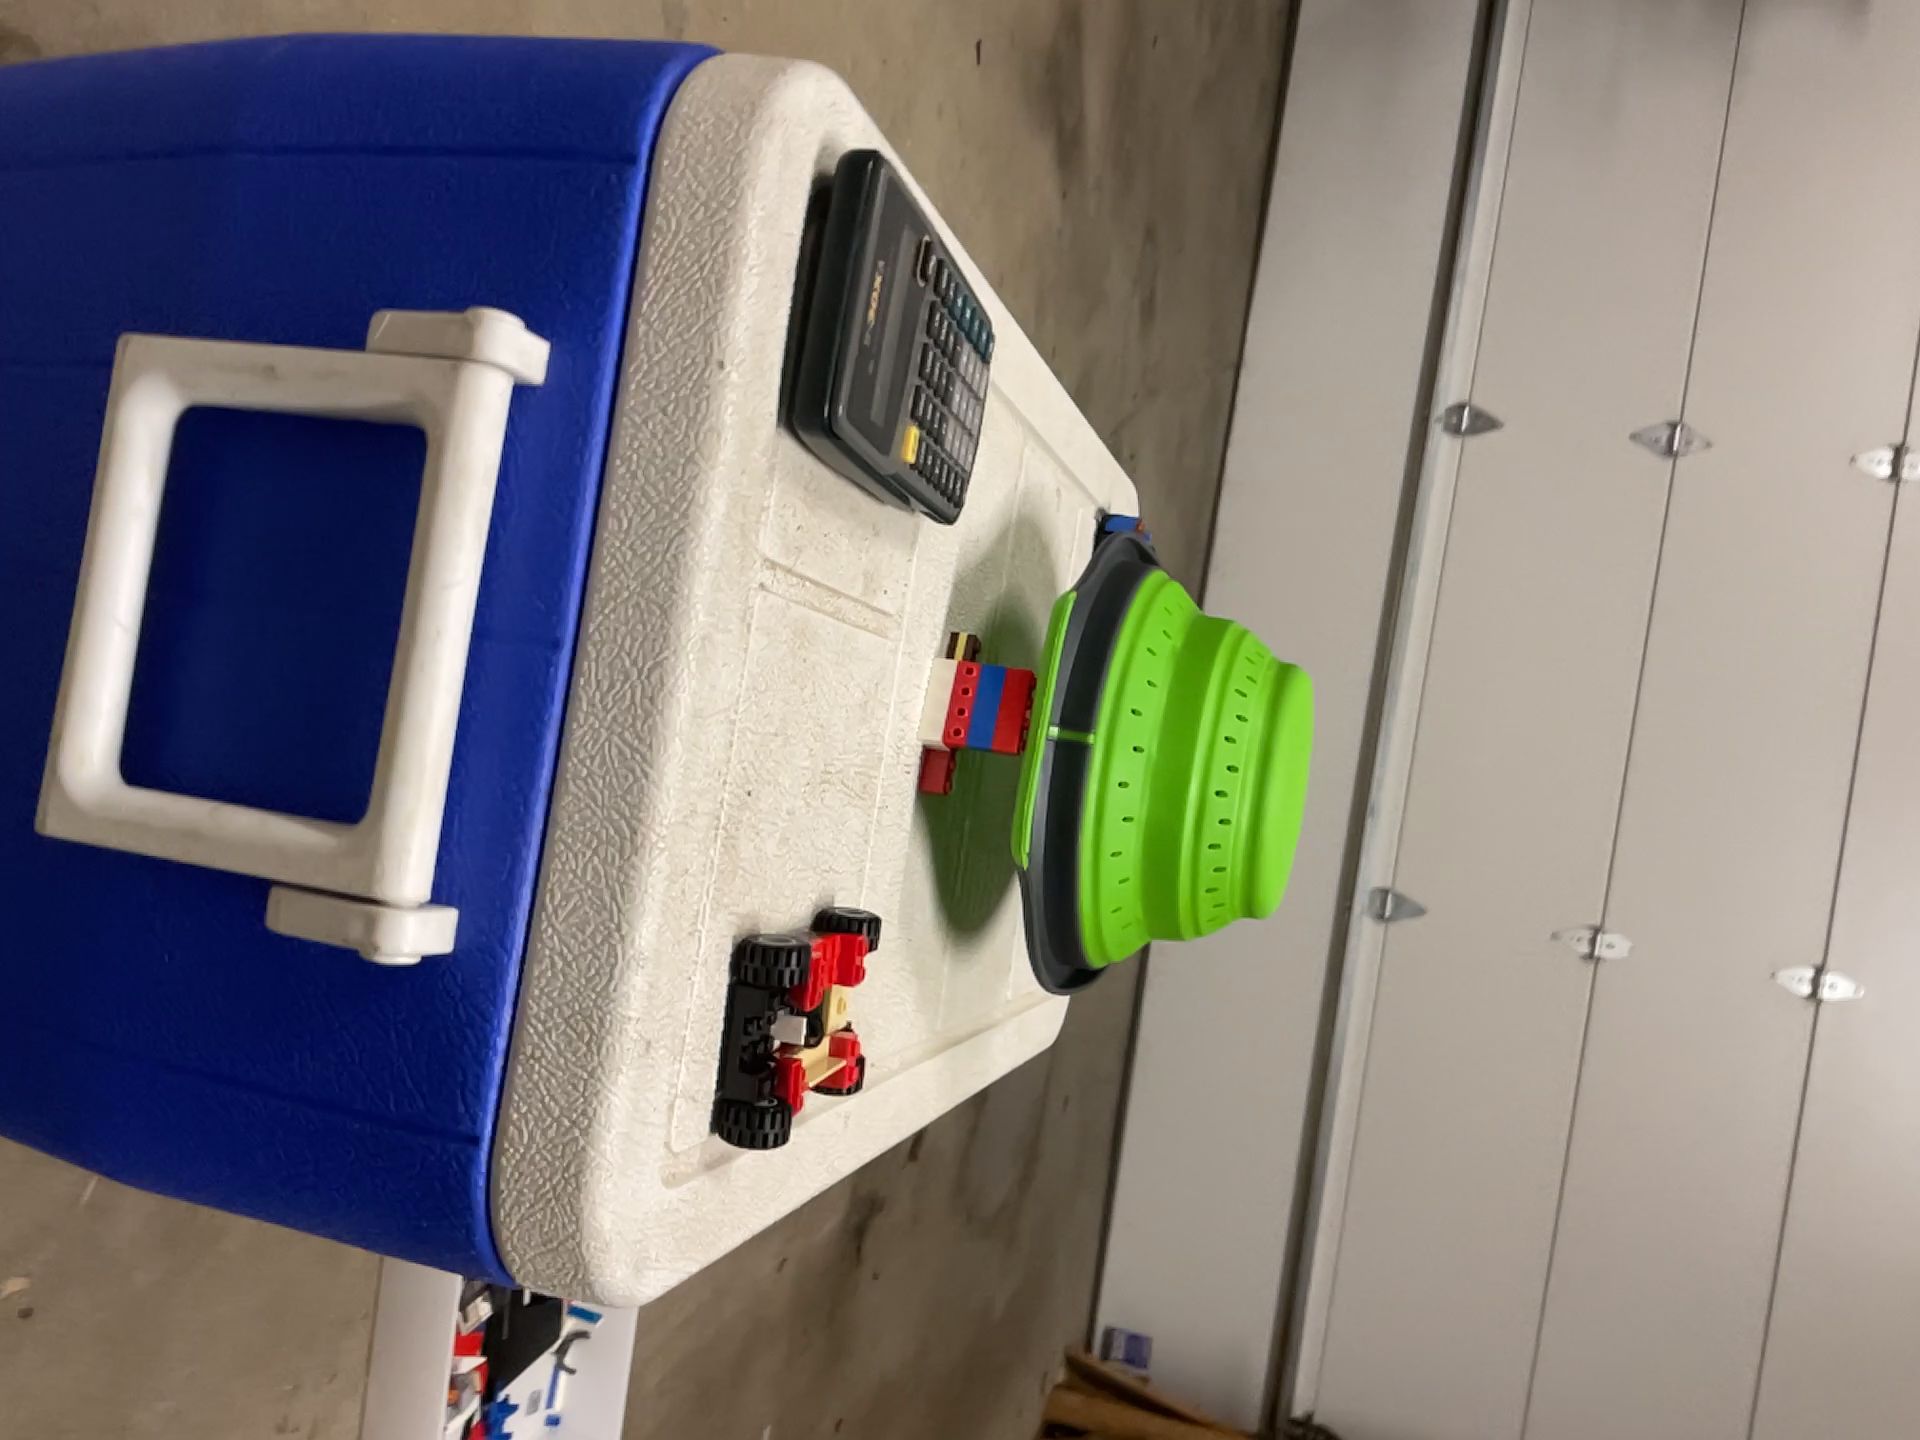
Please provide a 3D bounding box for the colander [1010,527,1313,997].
[{"bbox_3d":[0.118,0.037,0.761,0.397,0.094,0.204,31,69,-73],"label":"colander"}]
